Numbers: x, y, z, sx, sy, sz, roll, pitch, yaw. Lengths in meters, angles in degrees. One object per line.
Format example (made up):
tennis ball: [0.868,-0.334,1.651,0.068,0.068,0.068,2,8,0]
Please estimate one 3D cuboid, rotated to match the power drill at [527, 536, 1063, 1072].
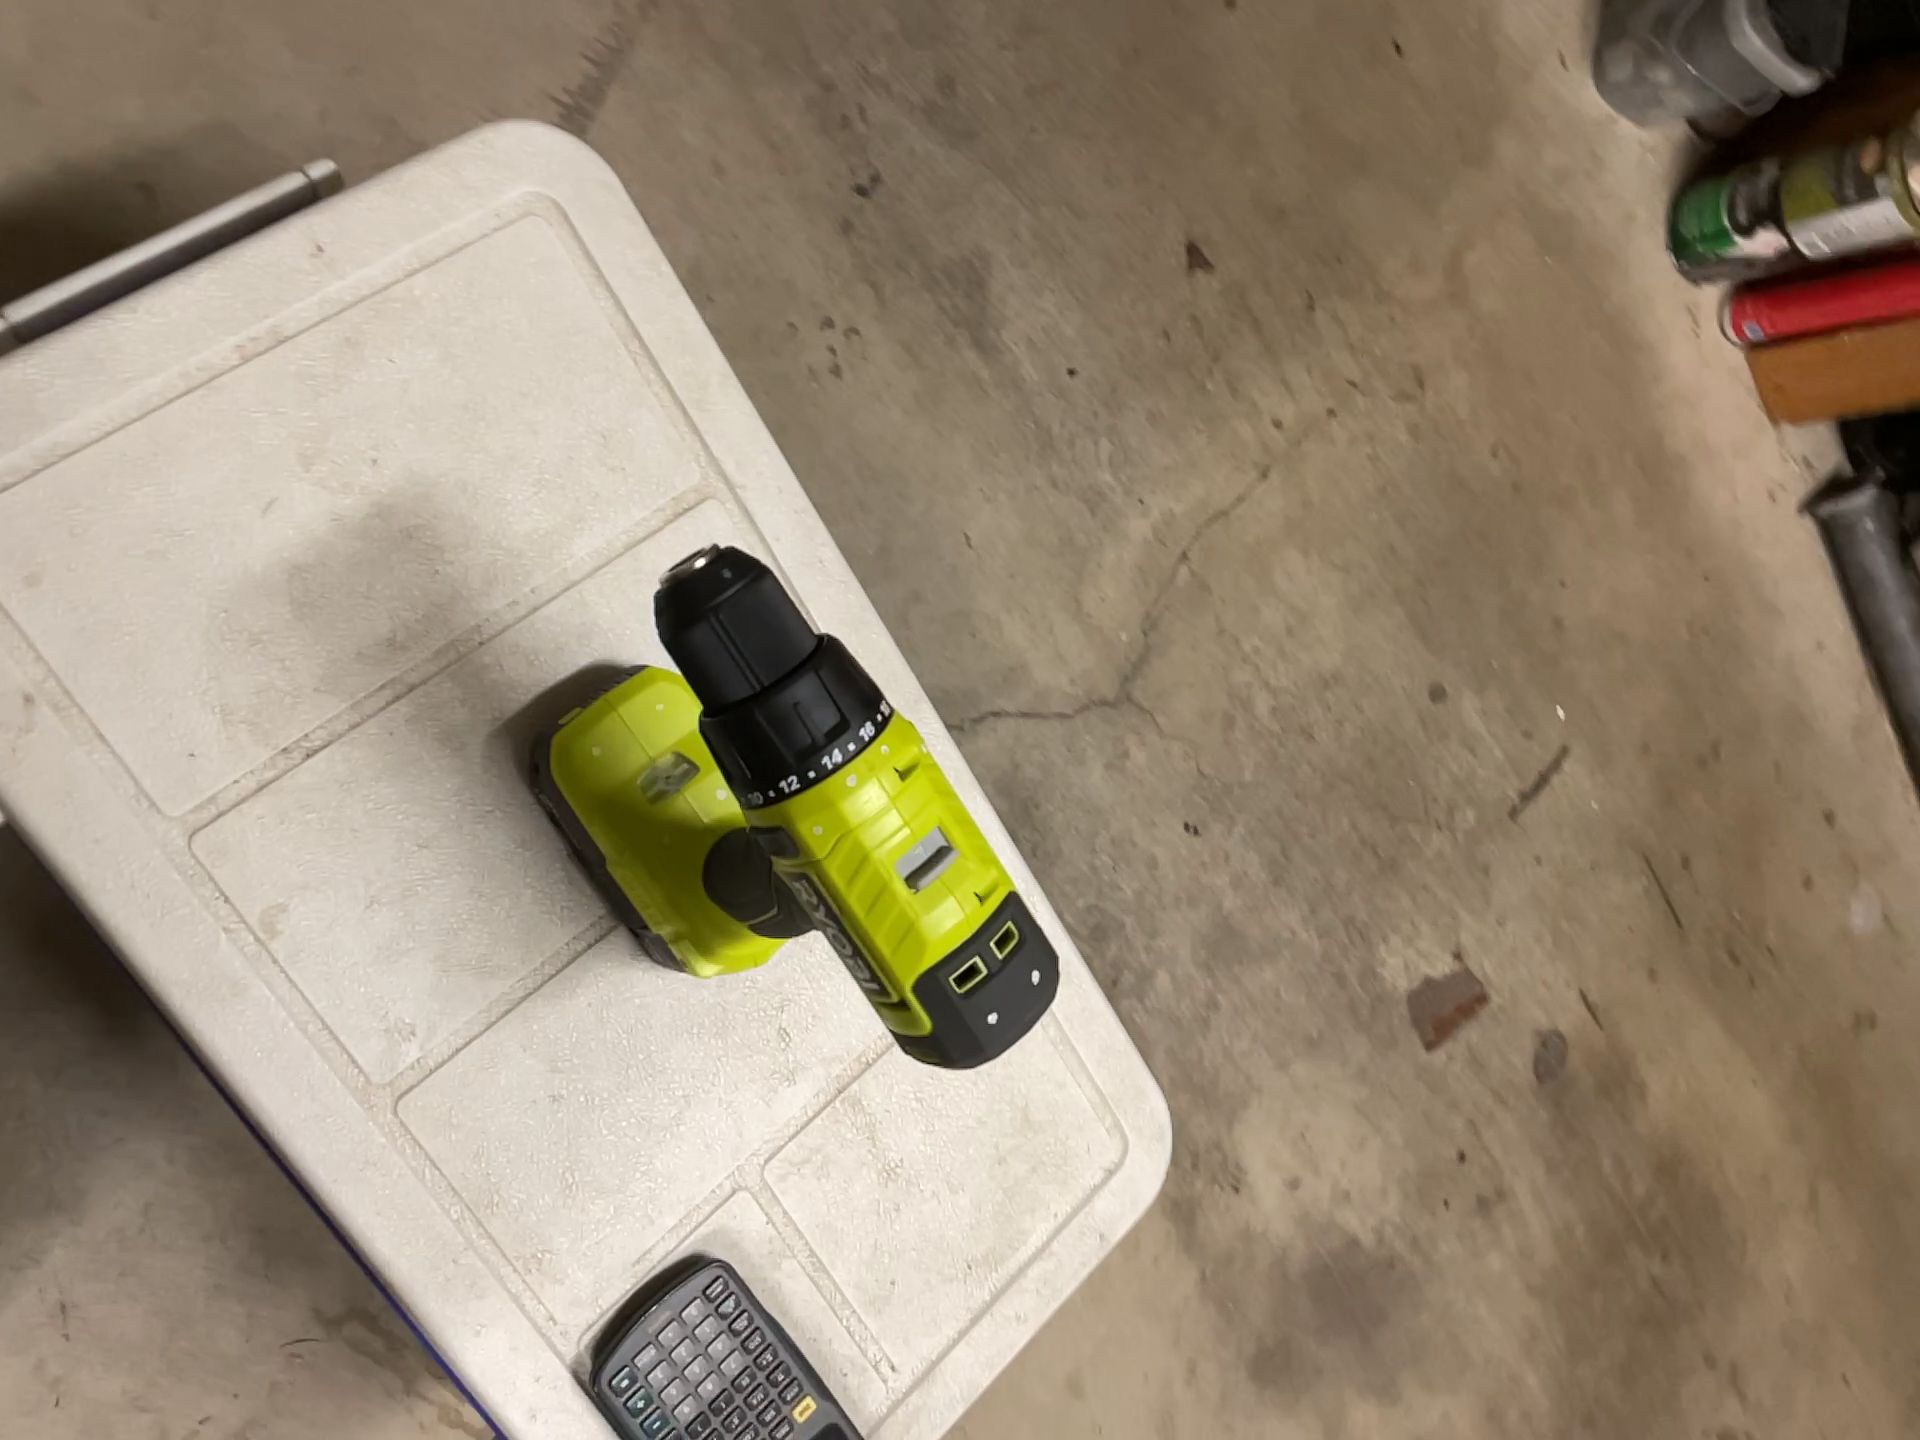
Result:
power drill: [-0.079,0.029,0.588,0.080,0.228,0.190,-40,108,-26]
